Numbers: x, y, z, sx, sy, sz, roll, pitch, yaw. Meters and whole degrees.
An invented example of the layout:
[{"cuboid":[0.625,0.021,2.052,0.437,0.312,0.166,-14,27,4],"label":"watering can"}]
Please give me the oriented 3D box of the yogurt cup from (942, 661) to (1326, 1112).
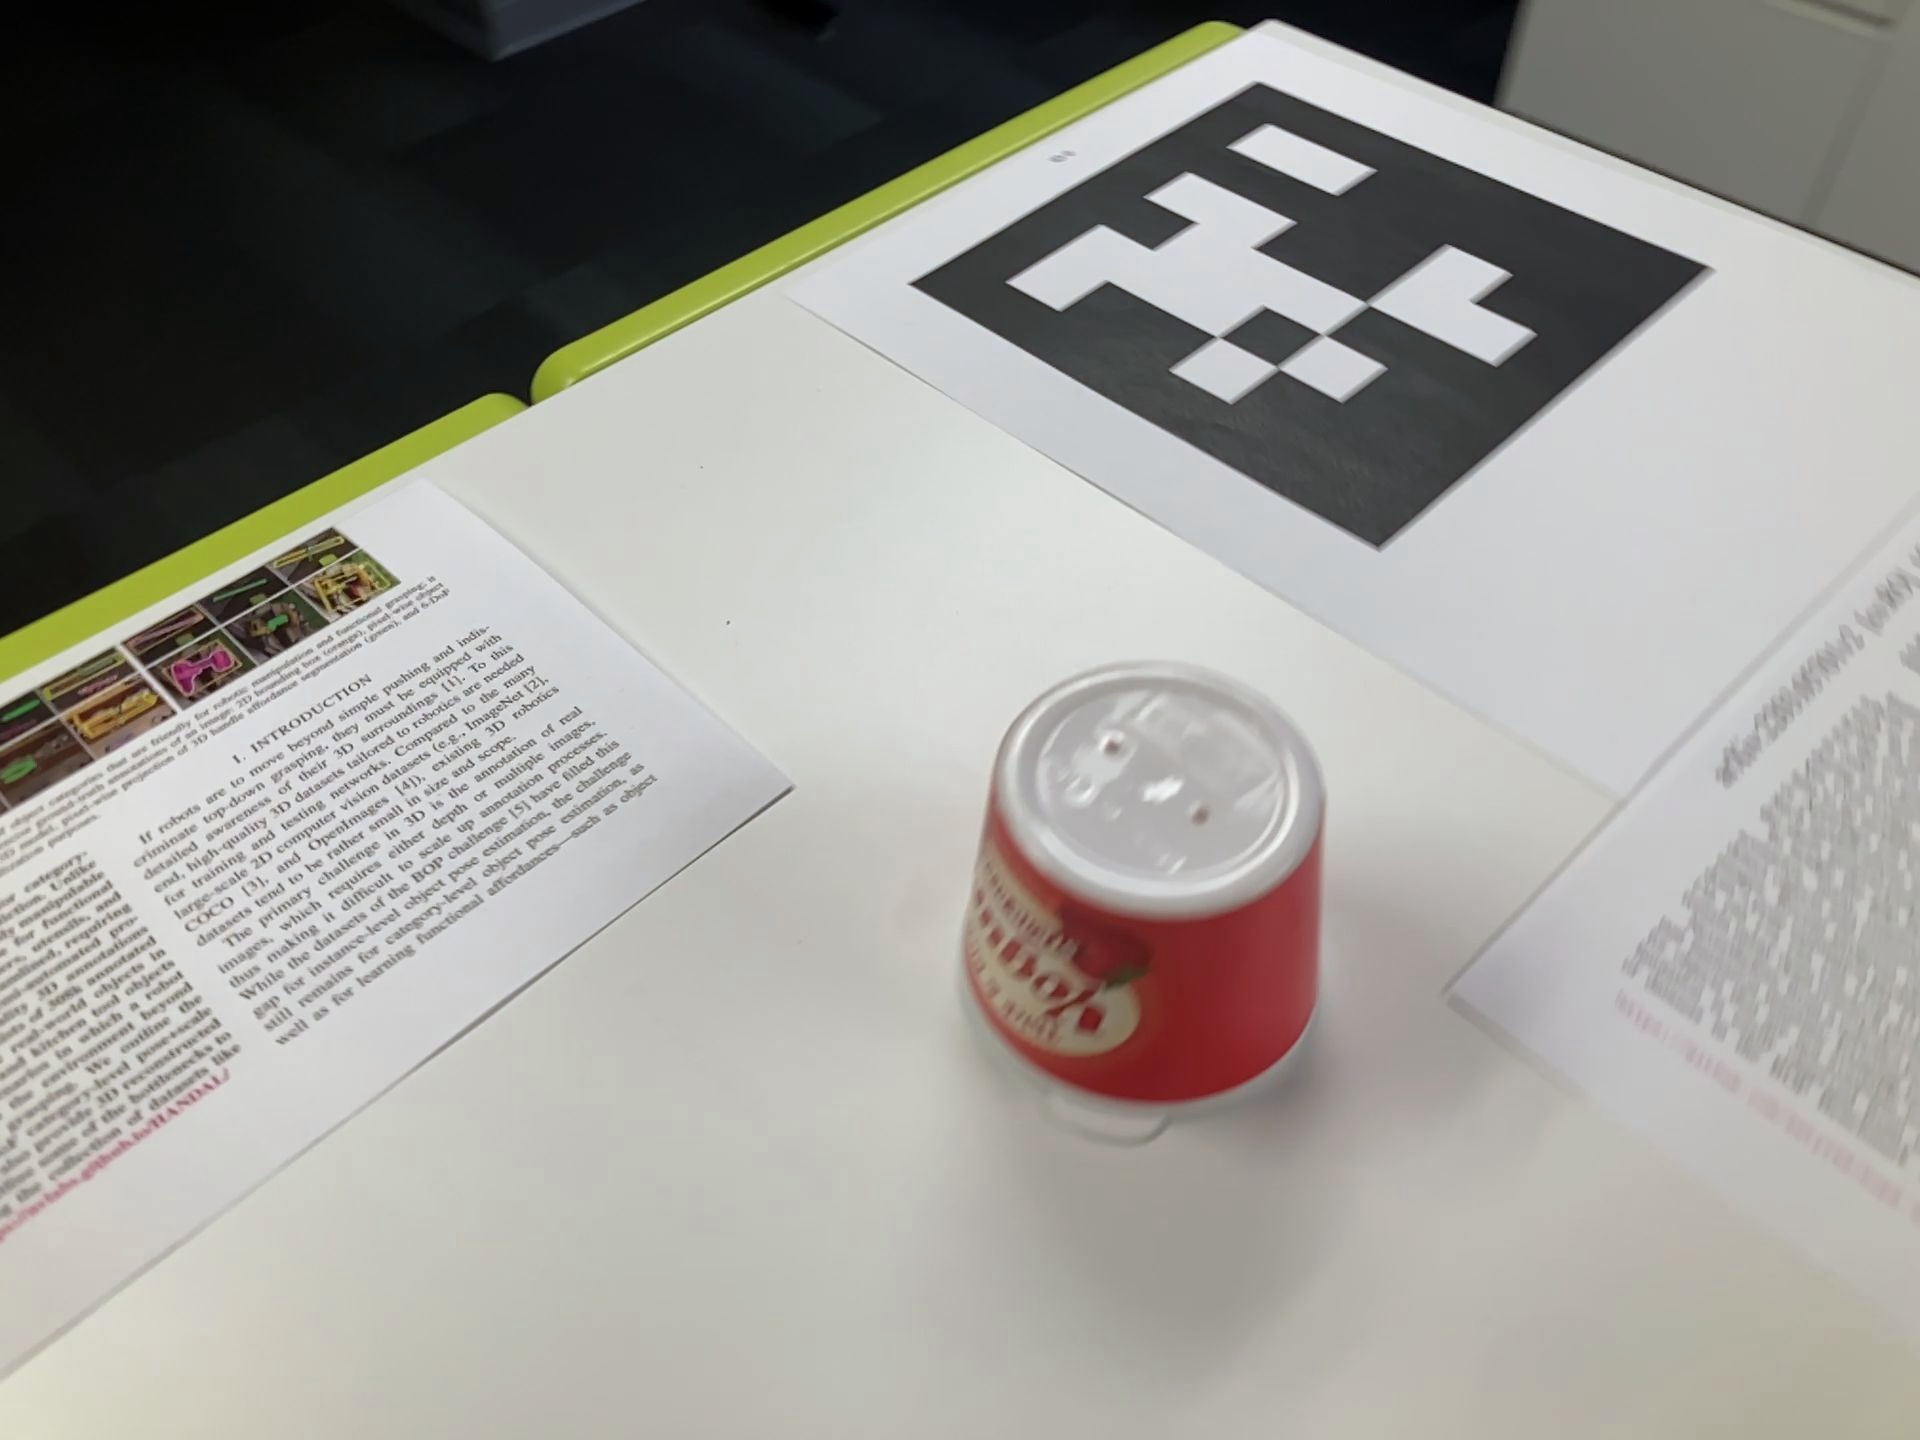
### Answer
[{"cuboid":[0.033,0.027,0.281,0.072,0.054,0.072,-1,47,1],"label":"yogurt cup"}]
